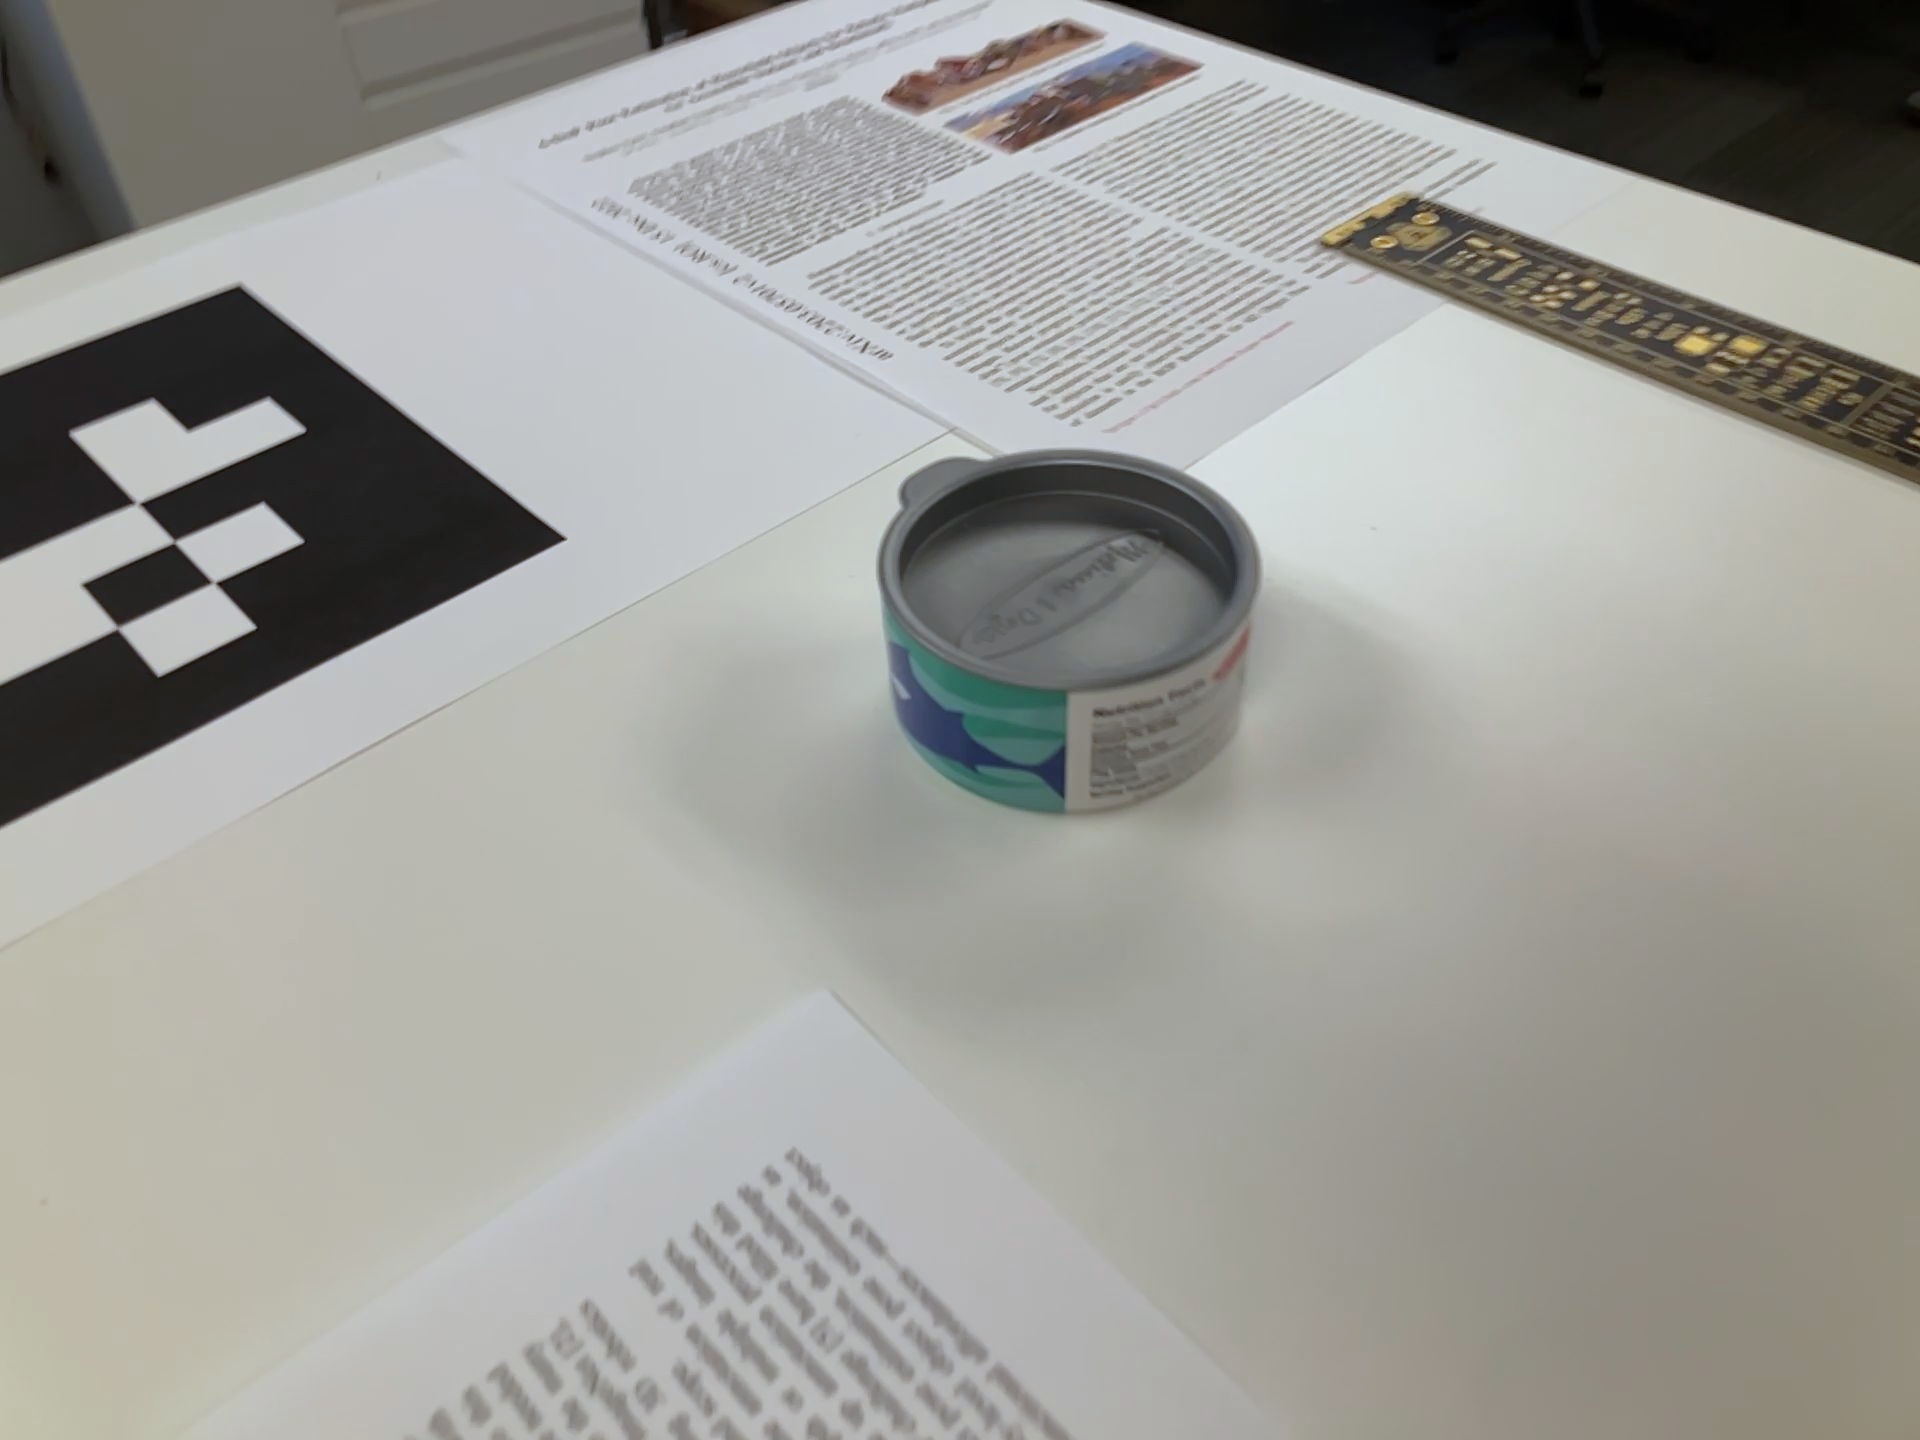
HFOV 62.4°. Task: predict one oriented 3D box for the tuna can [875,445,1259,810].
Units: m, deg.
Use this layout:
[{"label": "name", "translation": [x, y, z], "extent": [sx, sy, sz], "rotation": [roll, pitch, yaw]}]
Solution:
[{"label": "tuna can", "translation": [0.017, -0.019, 0.286], "extent": [0.071, 0.033, 0.071], "rotation": [-2, 44, 2]}]
